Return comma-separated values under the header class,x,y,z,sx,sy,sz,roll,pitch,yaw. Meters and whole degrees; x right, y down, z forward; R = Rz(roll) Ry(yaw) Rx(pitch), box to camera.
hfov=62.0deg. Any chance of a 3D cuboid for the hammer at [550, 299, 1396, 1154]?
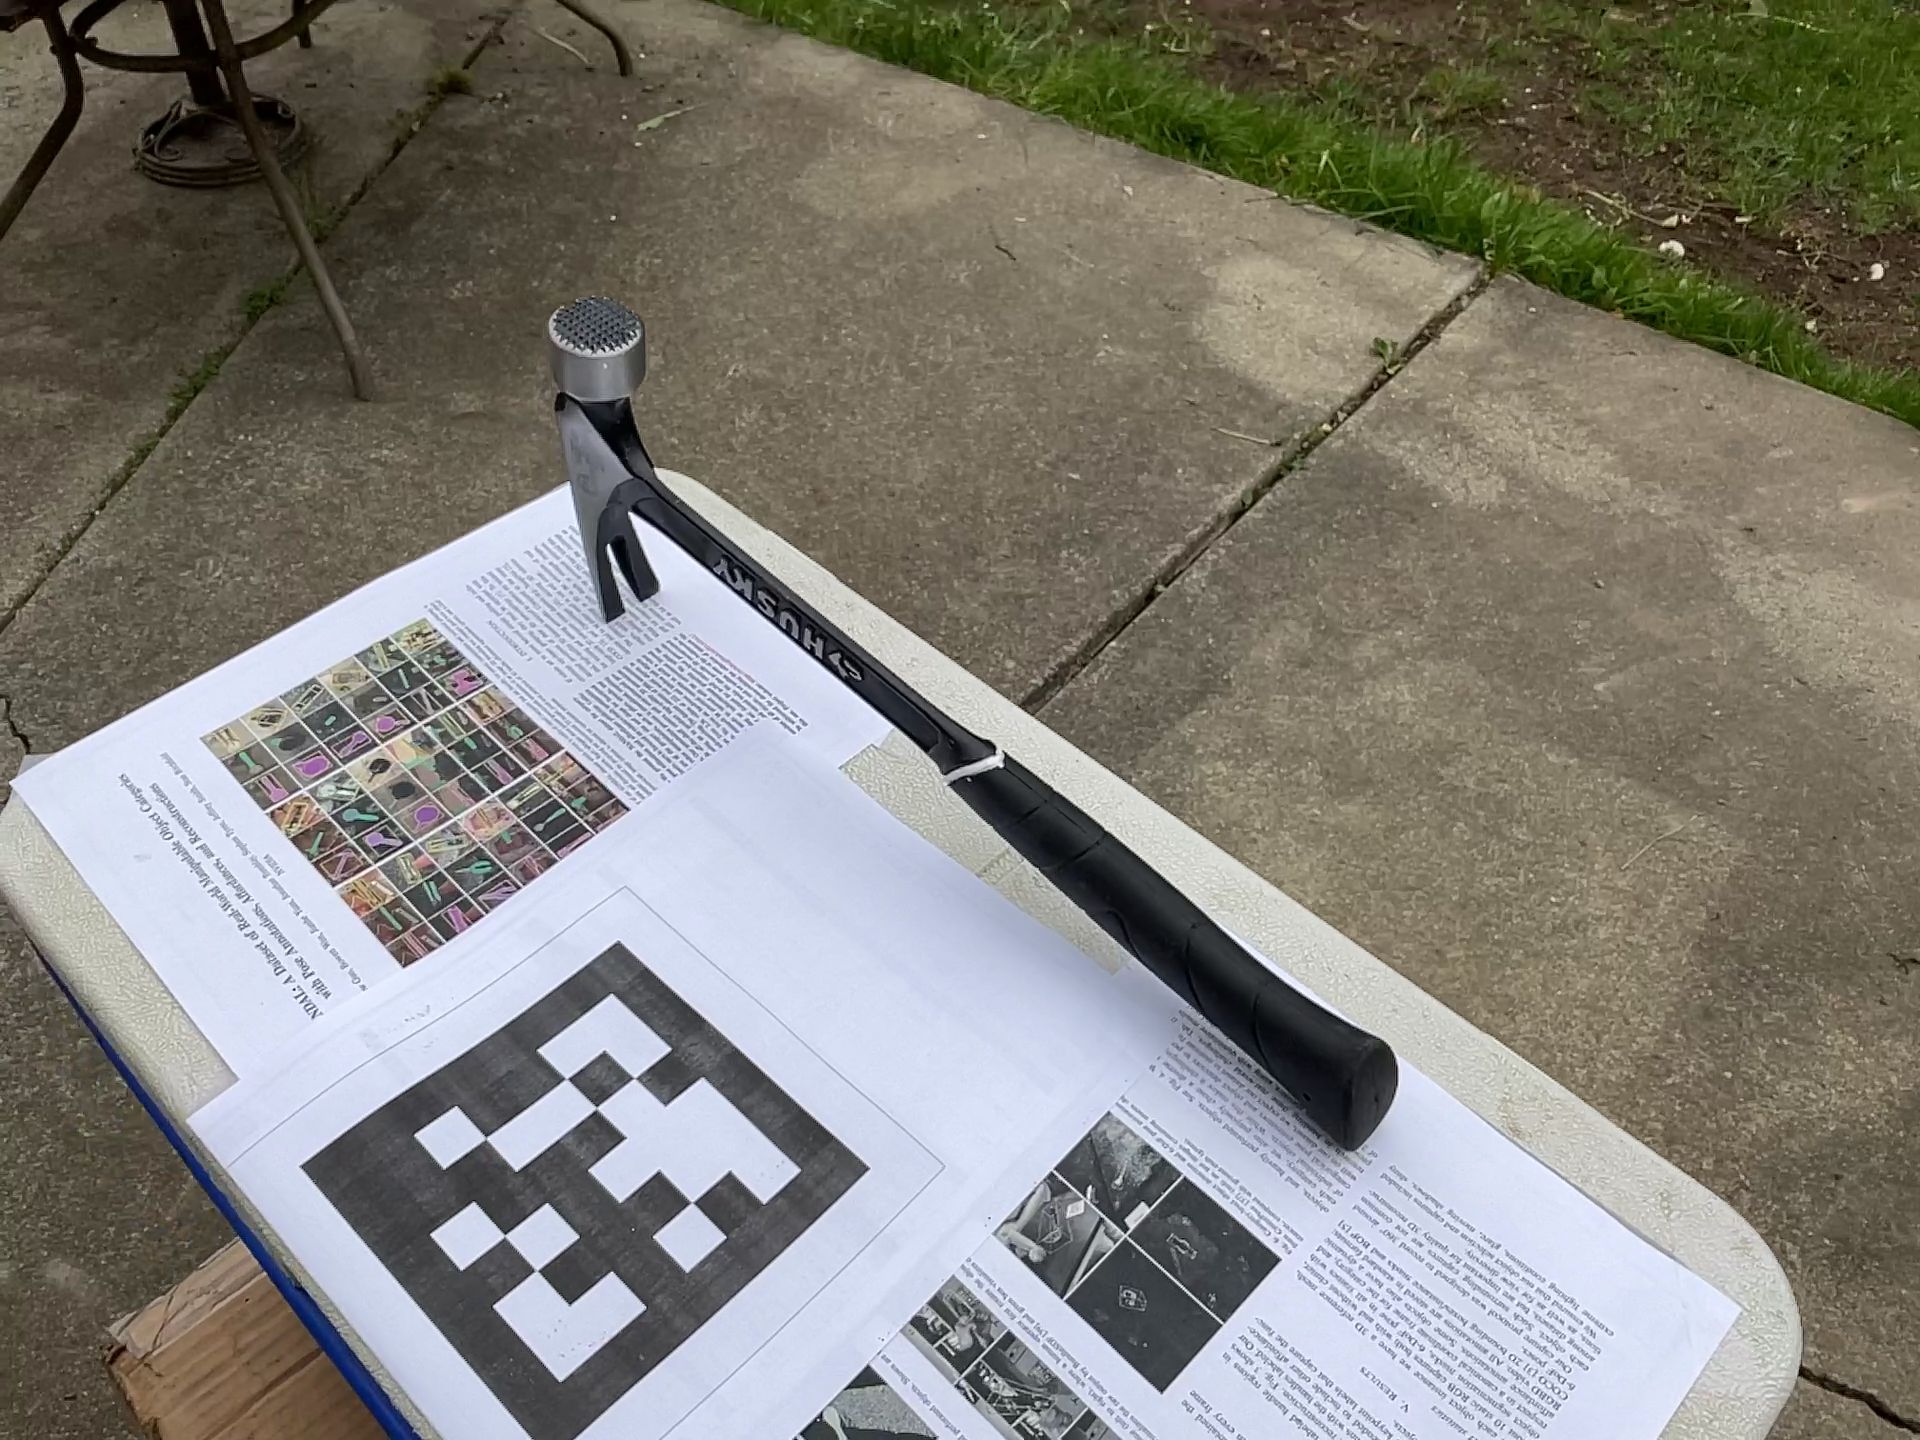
class,x,y,z,sx,sy,sz,roll,pitch,yaw
hammer,-0.011,0.010,0.593,0.409,0.149,0.036,40,57,19
